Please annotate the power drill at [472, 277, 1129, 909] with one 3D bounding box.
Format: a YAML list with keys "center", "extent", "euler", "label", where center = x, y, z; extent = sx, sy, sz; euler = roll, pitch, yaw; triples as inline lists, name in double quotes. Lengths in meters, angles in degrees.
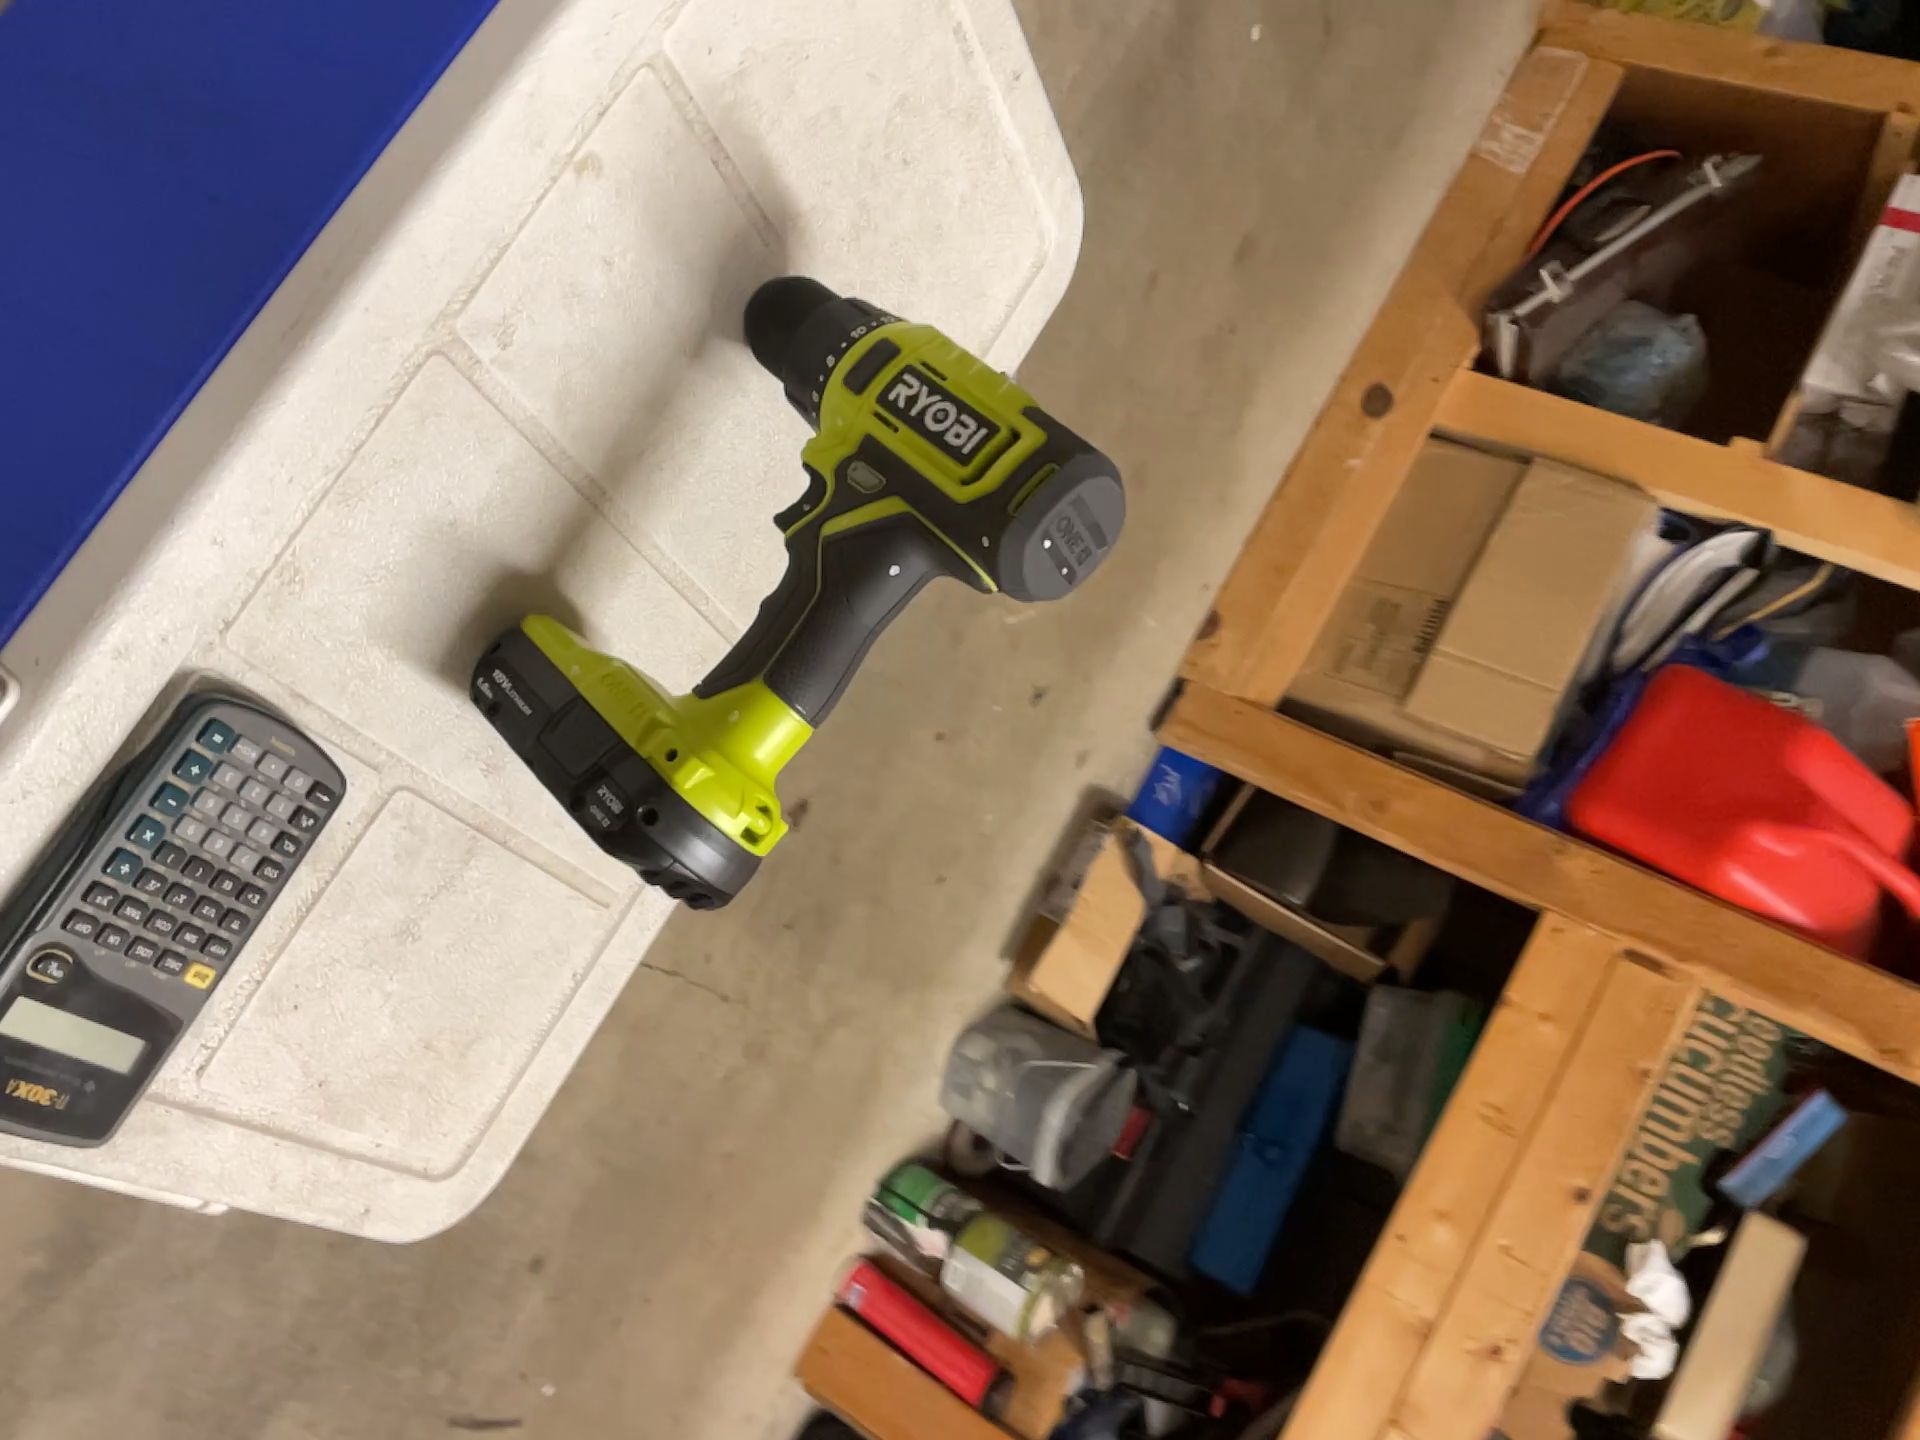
- center: [-0.073, -0.061, 0.620]
  extent: [0.228, 0.190, 0.080]
  euler: [-47, 149, -3]
  label: "power drill"
